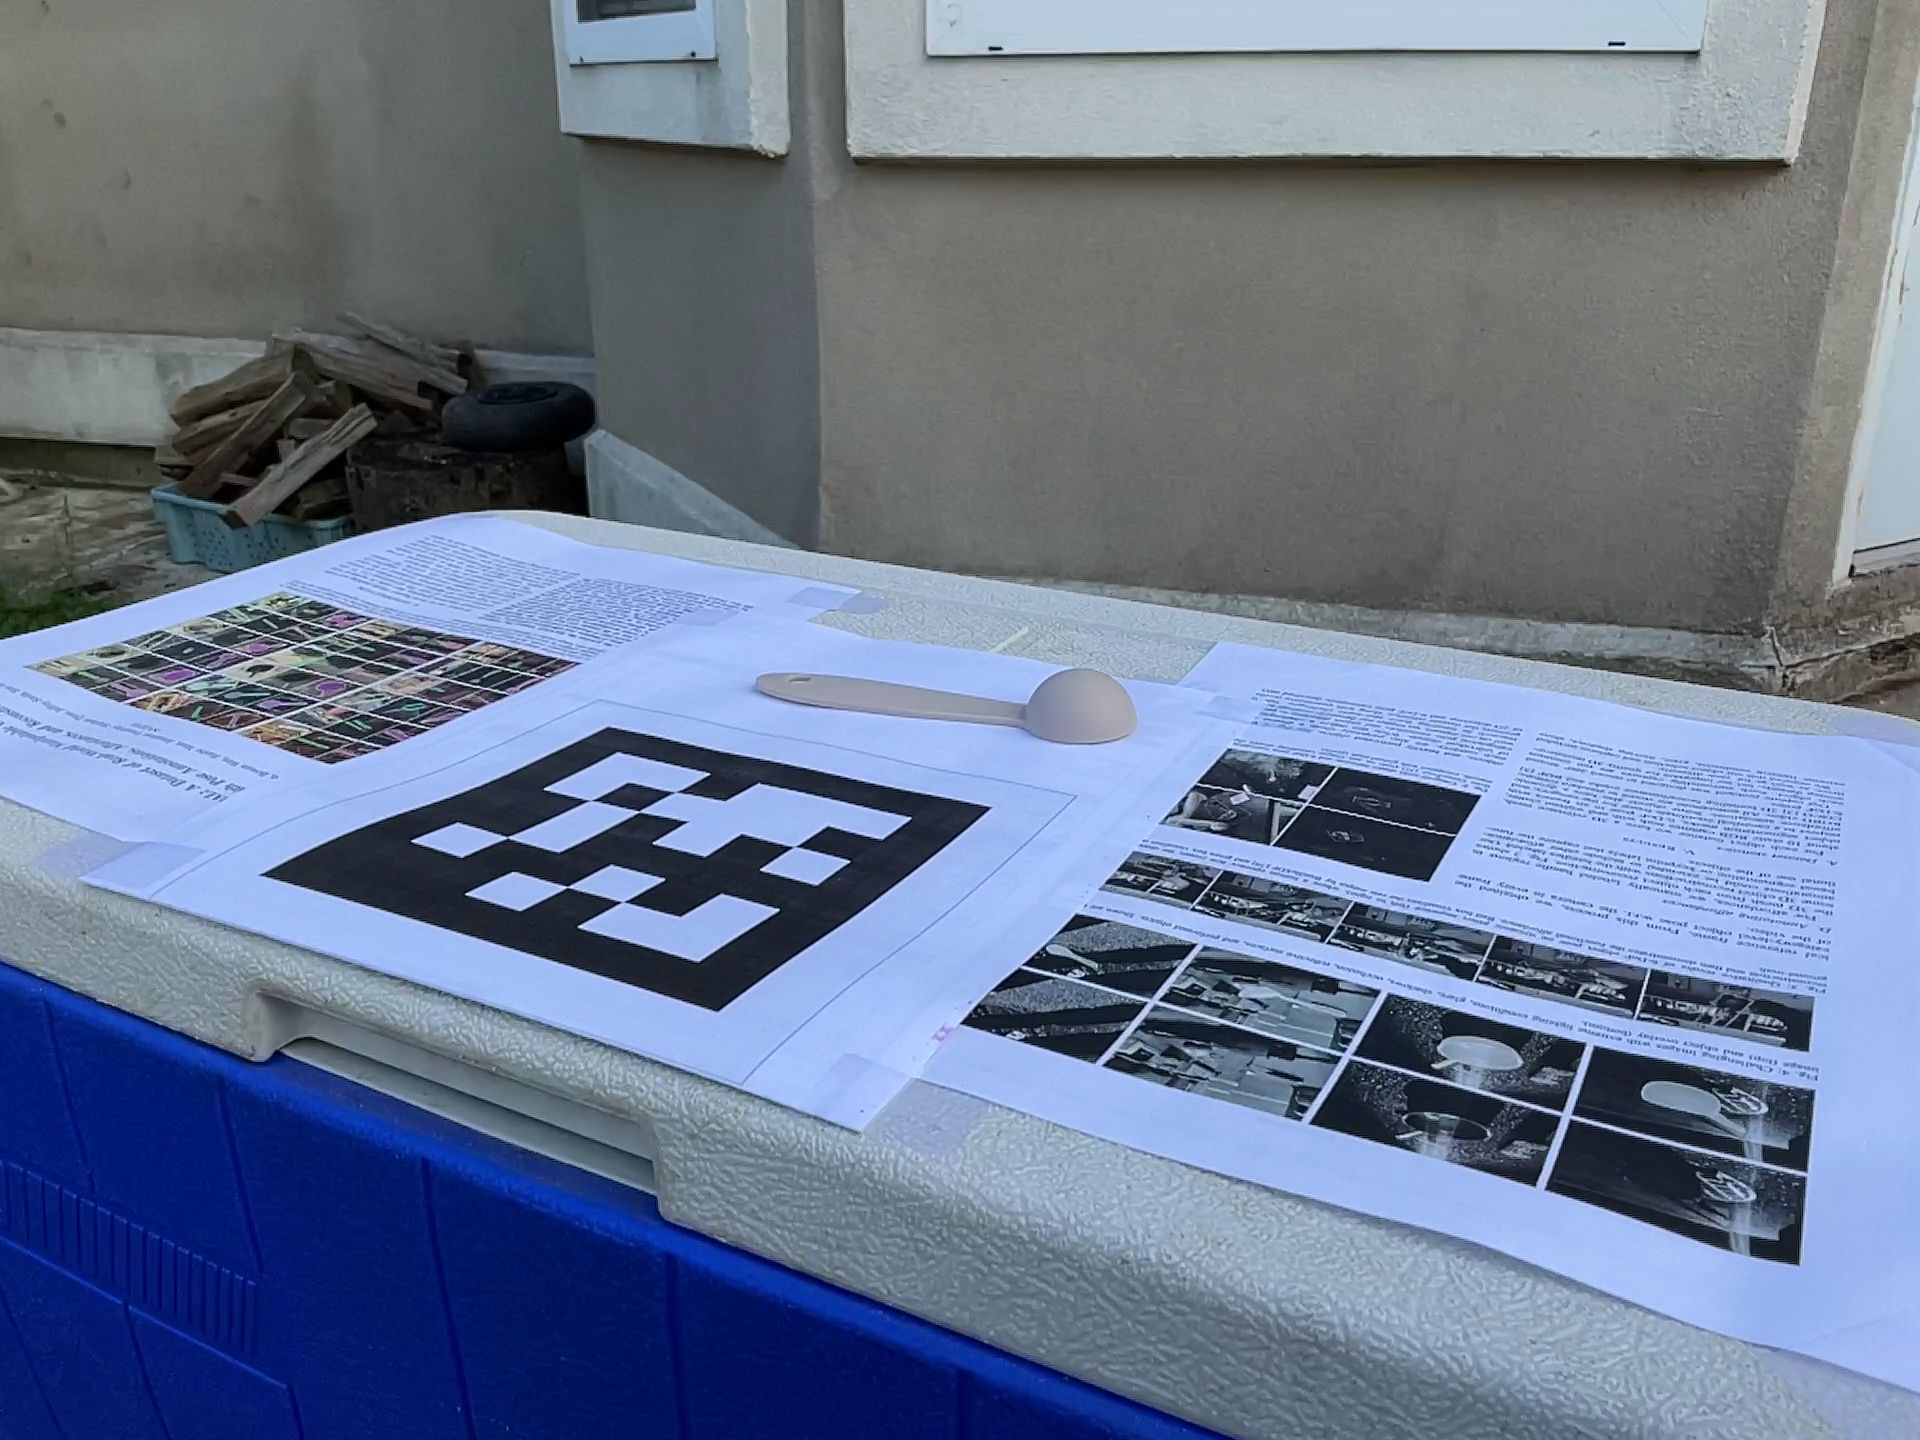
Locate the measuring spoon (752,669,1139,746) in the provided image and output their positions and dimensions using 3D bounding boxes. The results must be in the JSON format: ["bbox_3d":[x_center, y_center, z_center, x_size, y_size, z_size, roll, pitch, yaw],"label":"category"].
[{"bbox_3d":[-0.007,-0.011,0.487,0.124,0.018,0.034,7,23,17],"label":"measuring spoon"}]
